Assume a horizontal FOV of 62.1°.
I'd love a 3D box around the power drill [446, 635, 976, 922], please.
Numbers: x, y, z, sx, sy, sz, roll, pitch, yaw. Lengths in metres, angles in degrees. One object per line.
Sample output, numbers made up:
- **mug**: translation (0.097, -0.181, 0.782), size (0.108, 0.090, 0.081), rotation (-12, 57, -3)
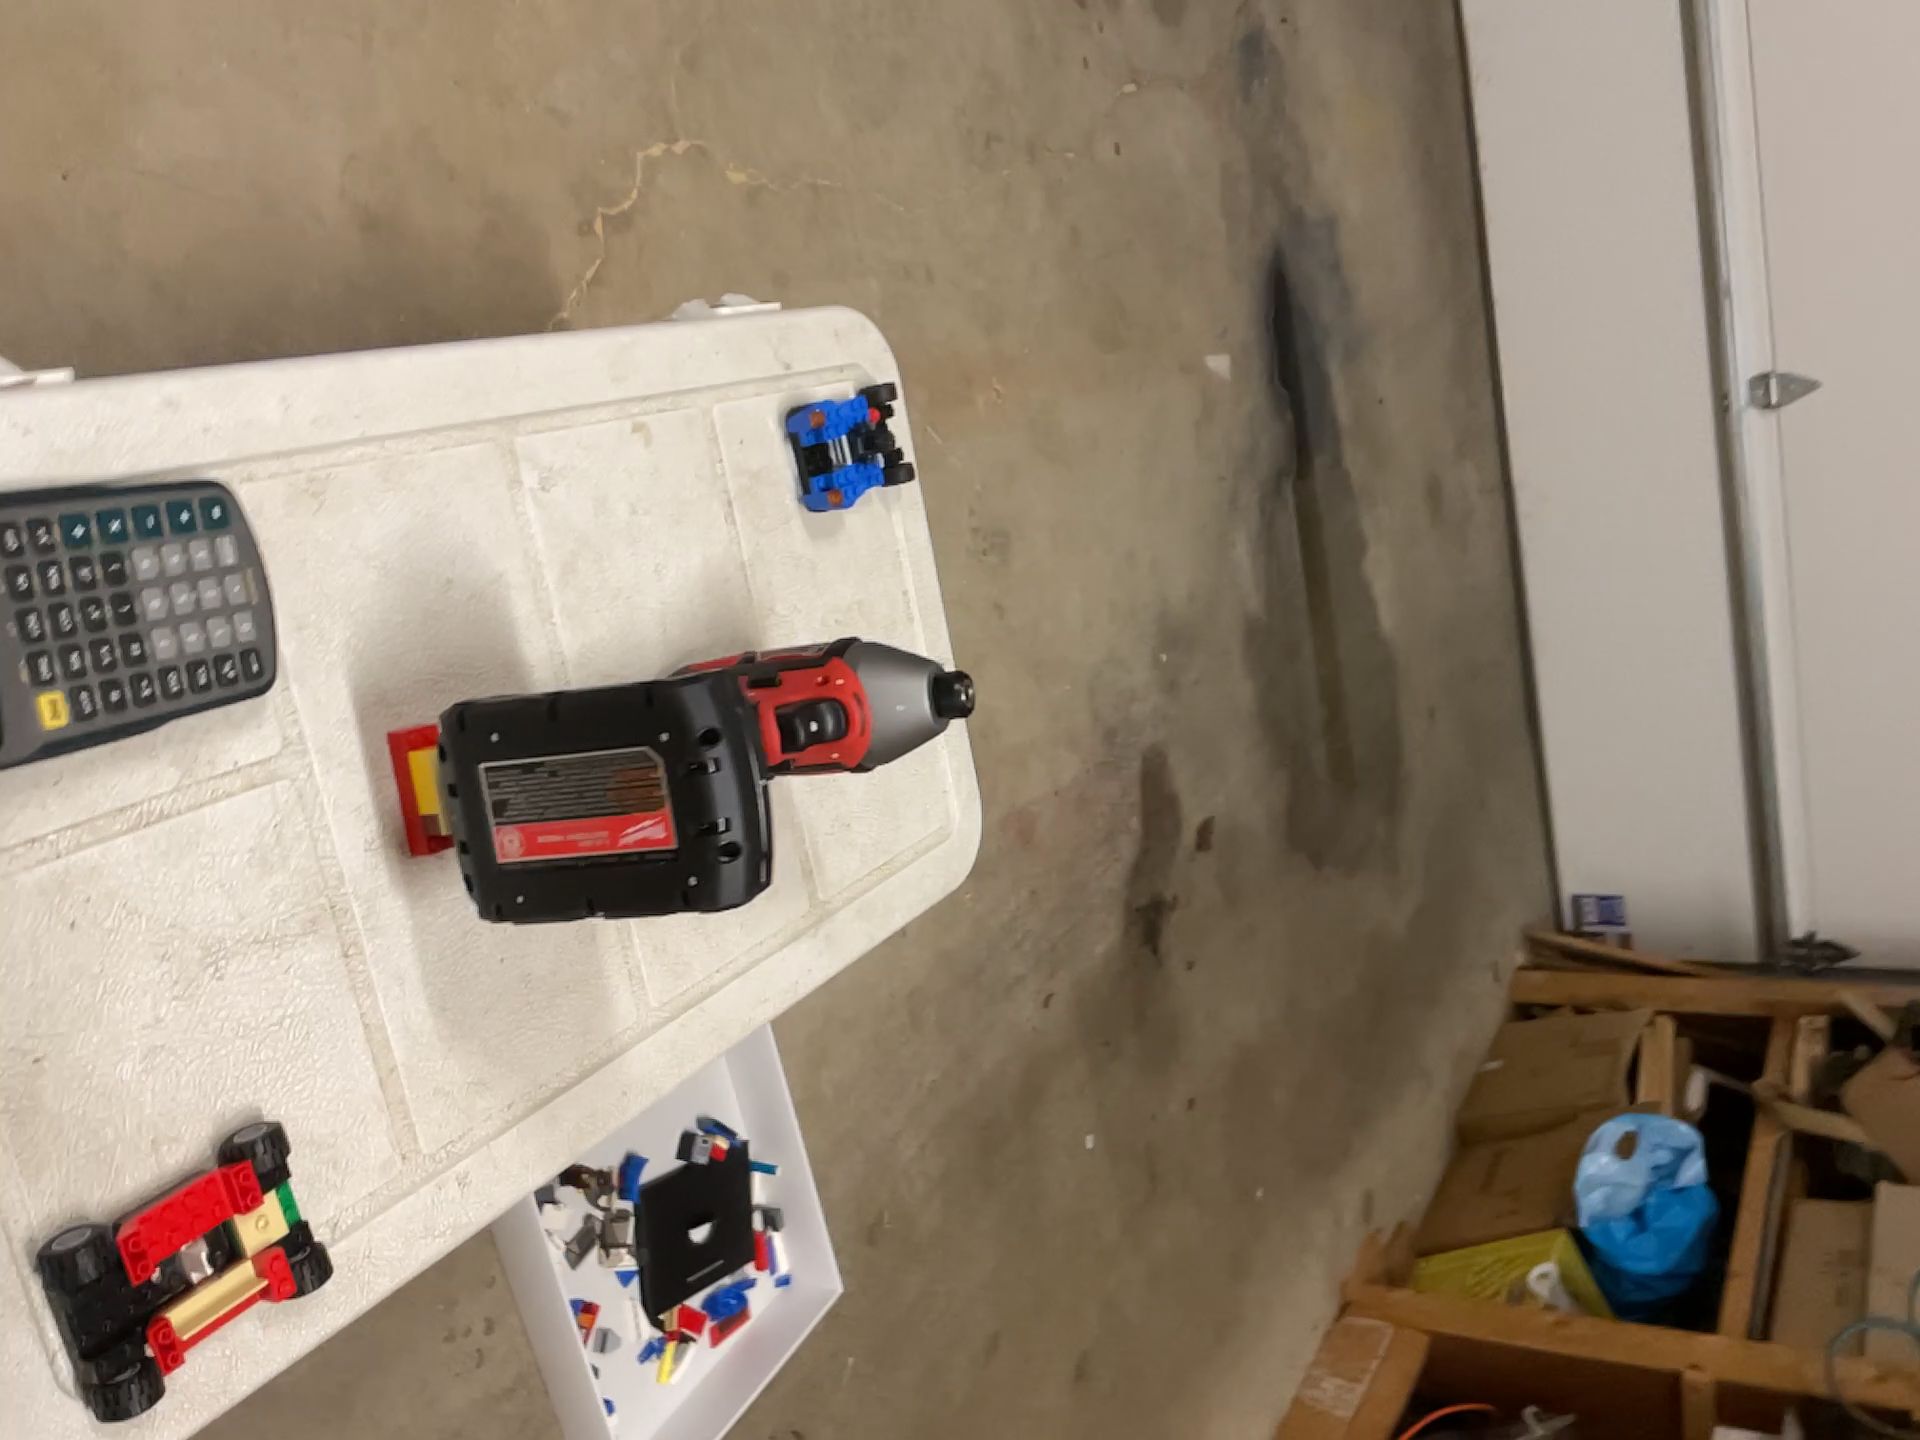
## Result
- **power drill**: translation (-0.087, 0.009, 0.638), size (0.220, 0.143, 0.078), rotation (-30, 112, -69)
